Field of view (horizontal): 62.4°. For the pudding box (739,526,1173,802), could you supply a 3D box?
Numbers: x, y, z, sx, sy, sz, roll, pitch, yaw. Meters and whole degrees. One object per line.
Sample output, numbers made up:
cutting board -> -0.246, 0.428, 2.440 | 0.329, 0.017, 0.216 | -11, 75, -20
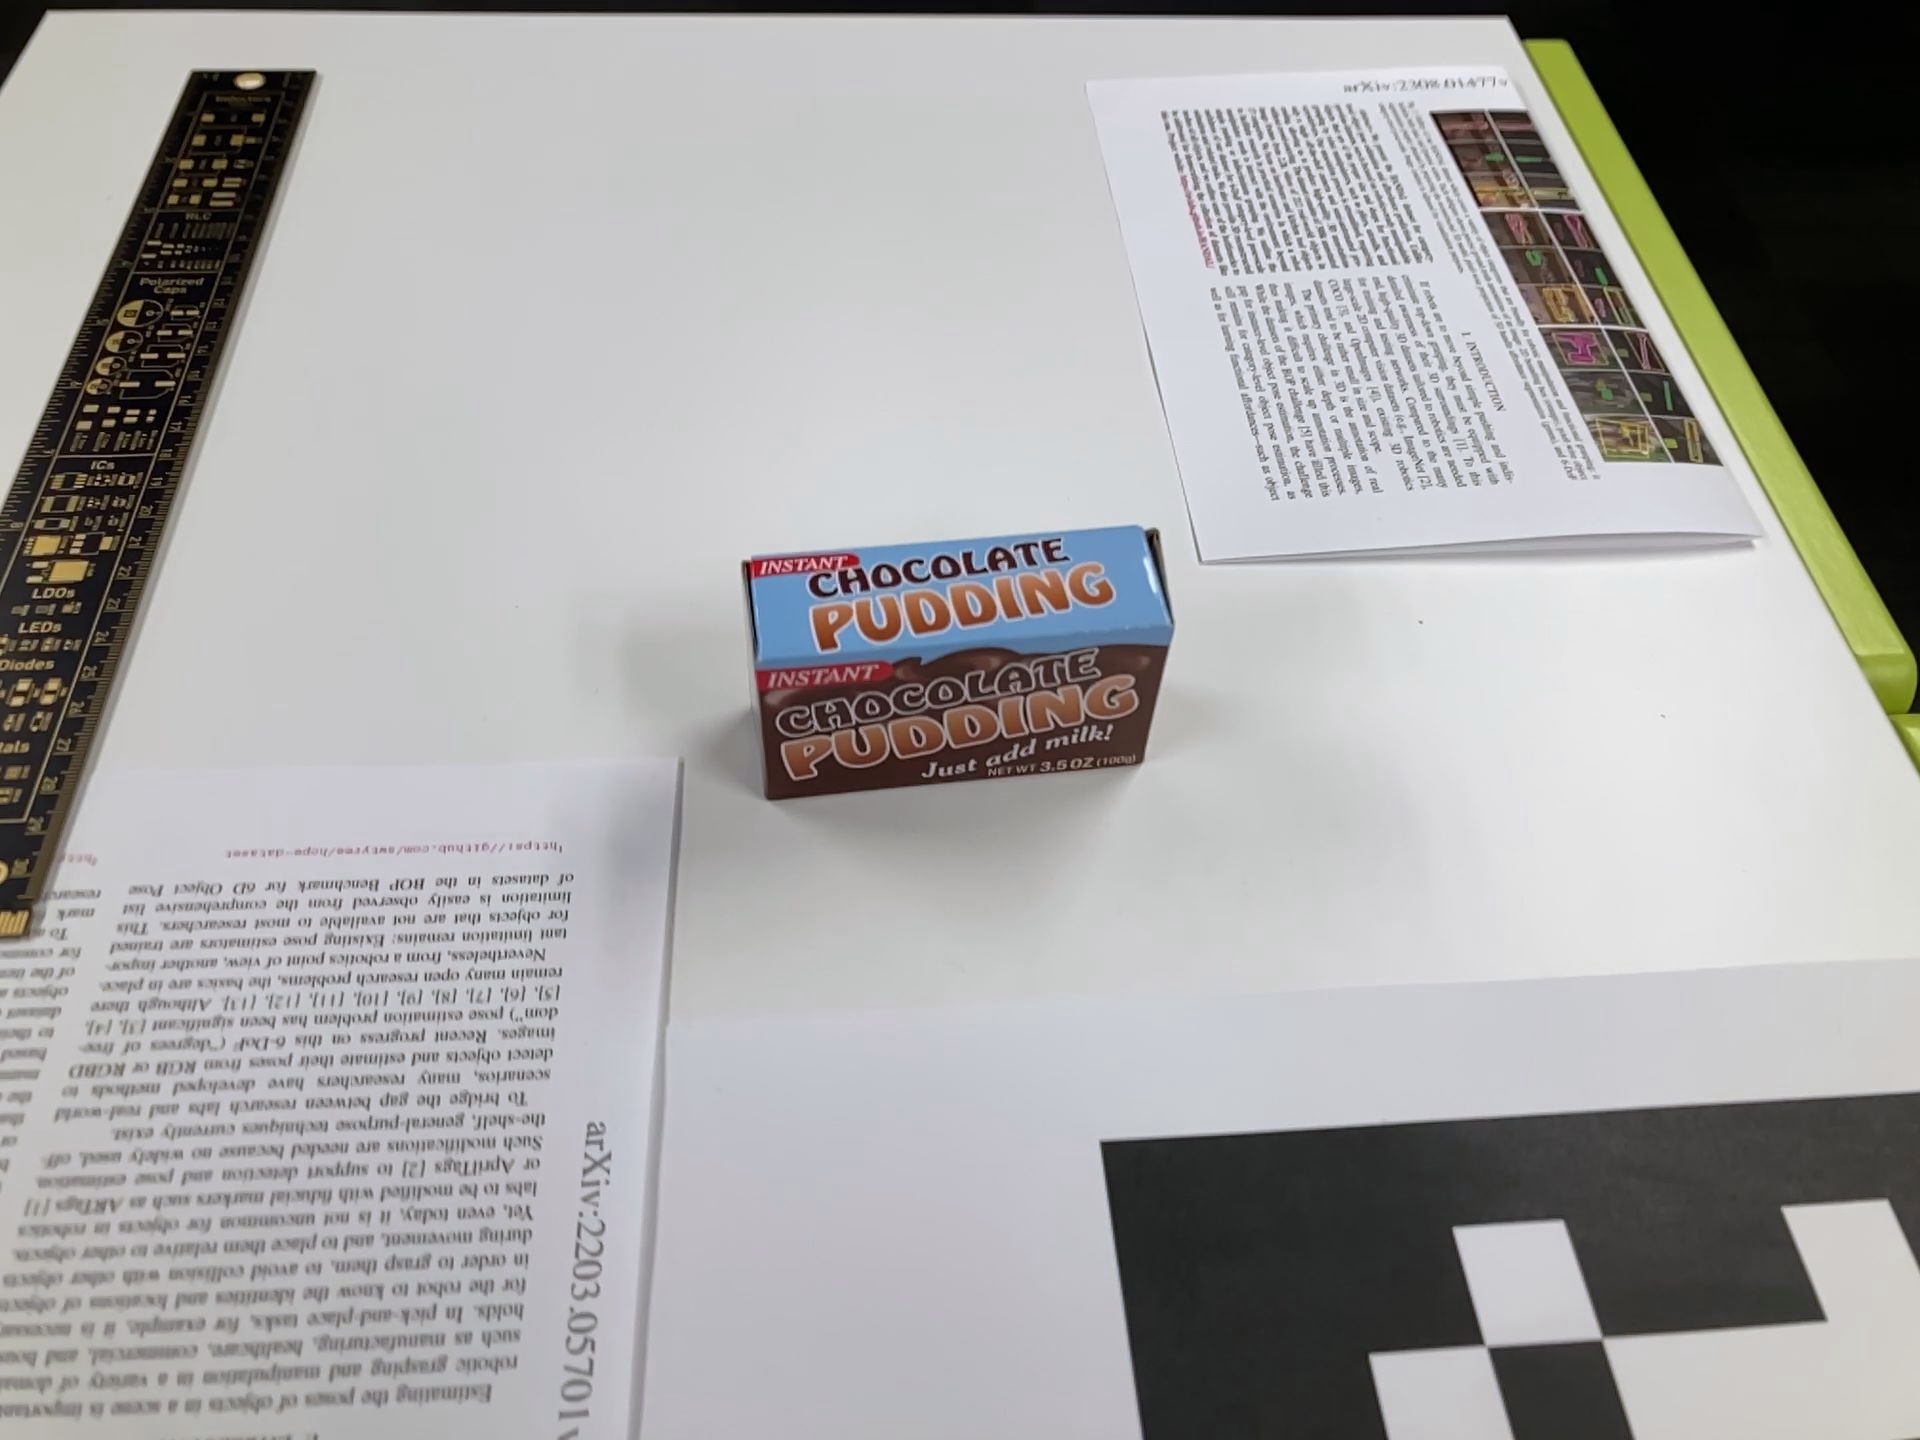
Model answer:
pudding box -> -0.002, -0.012, 0.326 | 0.083, 0.049, 0.030 | -5, 53, -7
